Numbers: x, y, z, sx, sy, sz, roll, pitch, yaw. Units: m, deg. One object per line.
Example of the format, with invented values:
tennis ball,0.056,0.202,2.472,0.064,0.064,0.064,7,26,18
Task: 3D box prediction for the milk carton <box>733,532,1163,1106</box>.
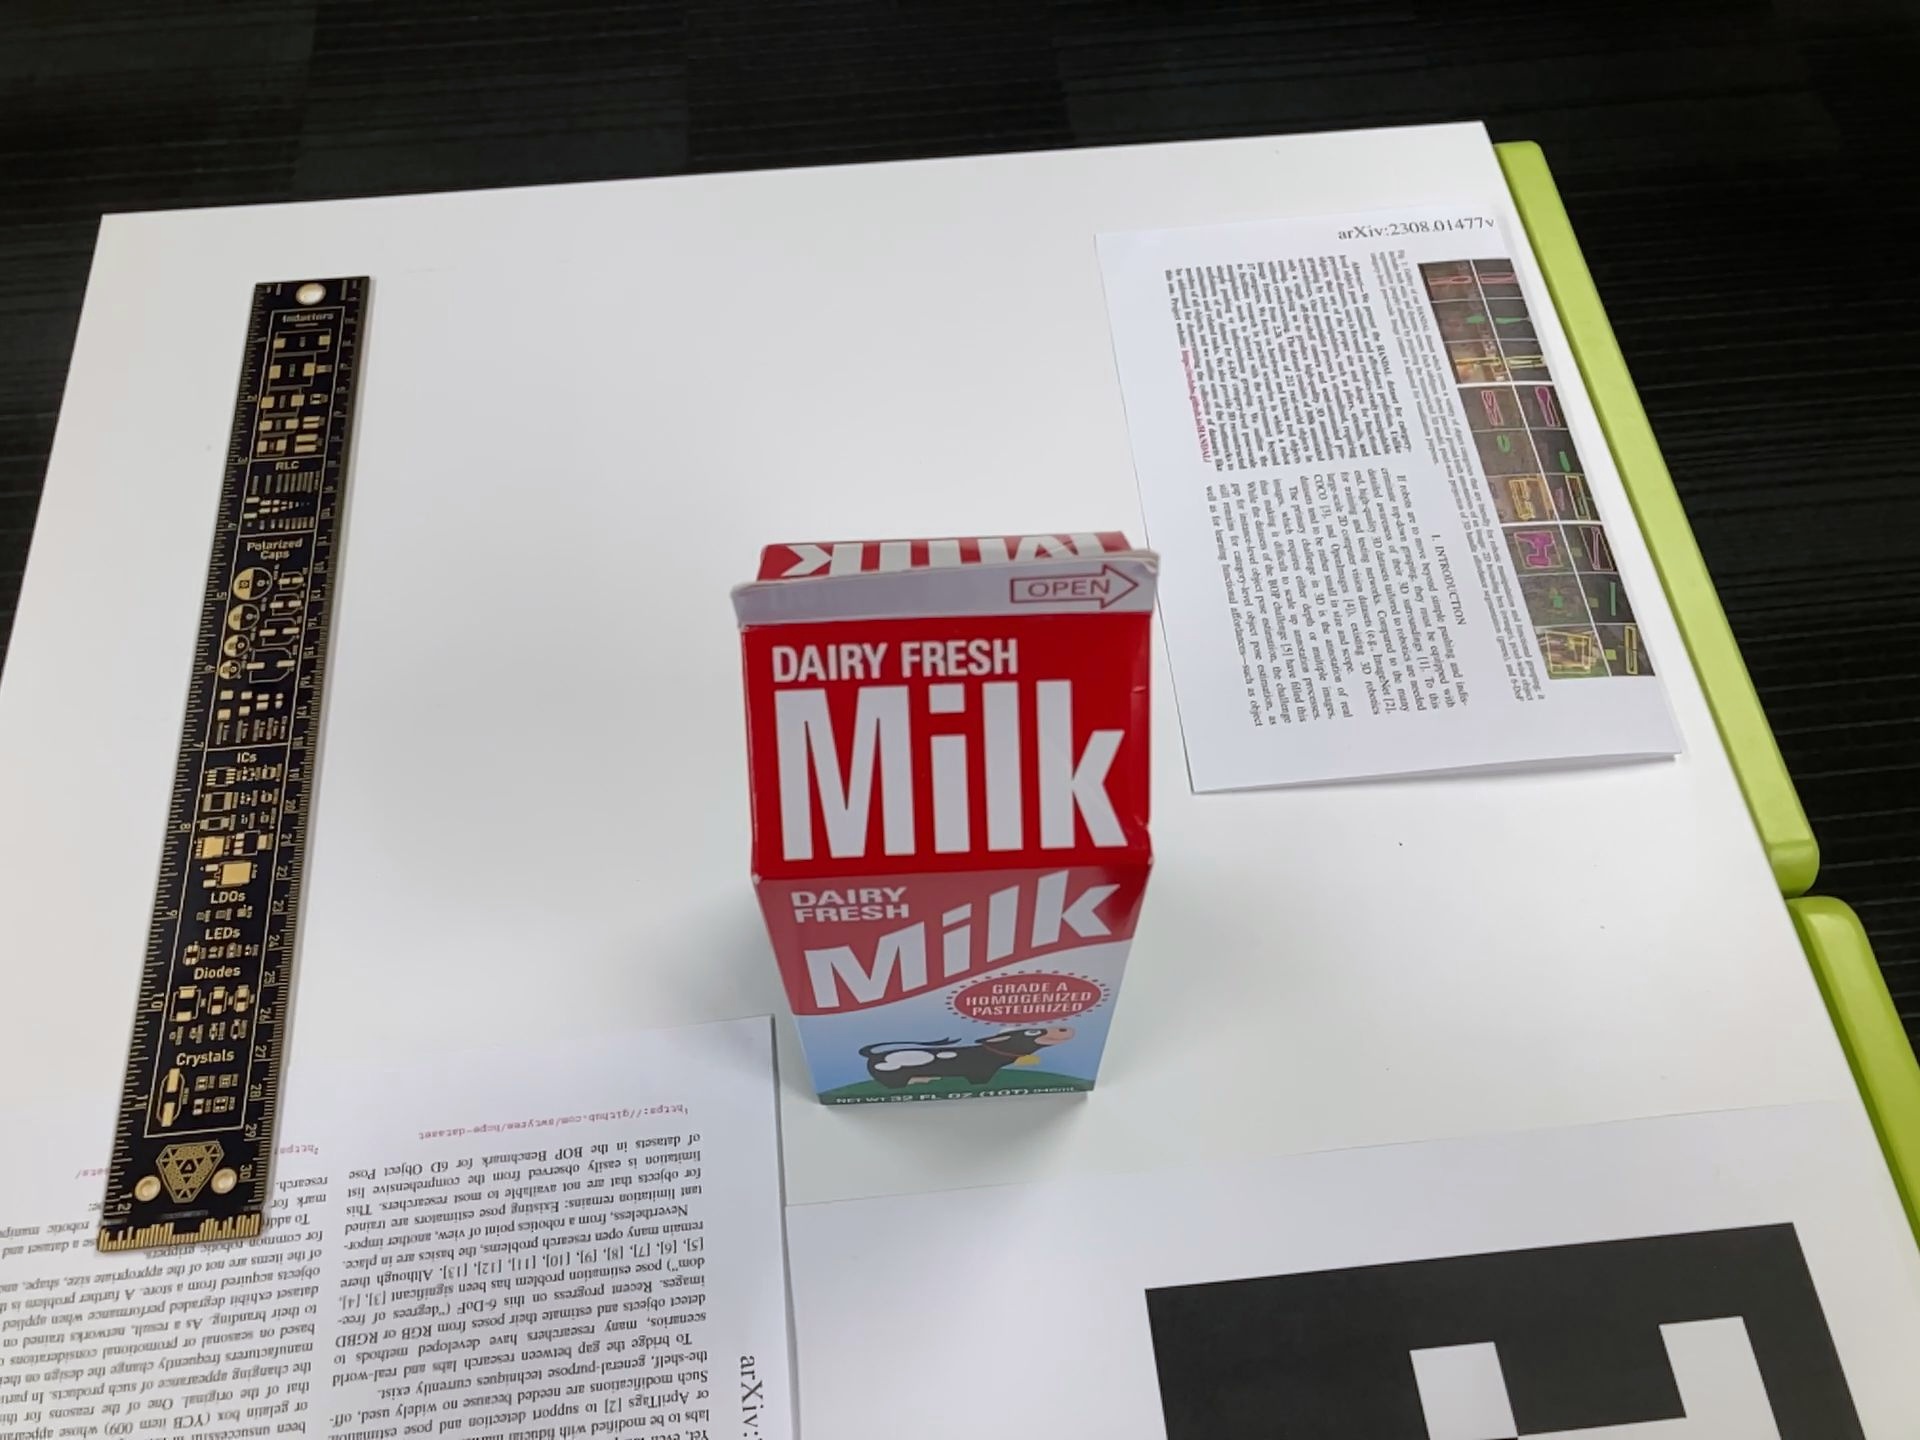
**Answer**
milk carton,-0.002,0.021,0.336,0.072,0.190,0.073,-2,61,-1
